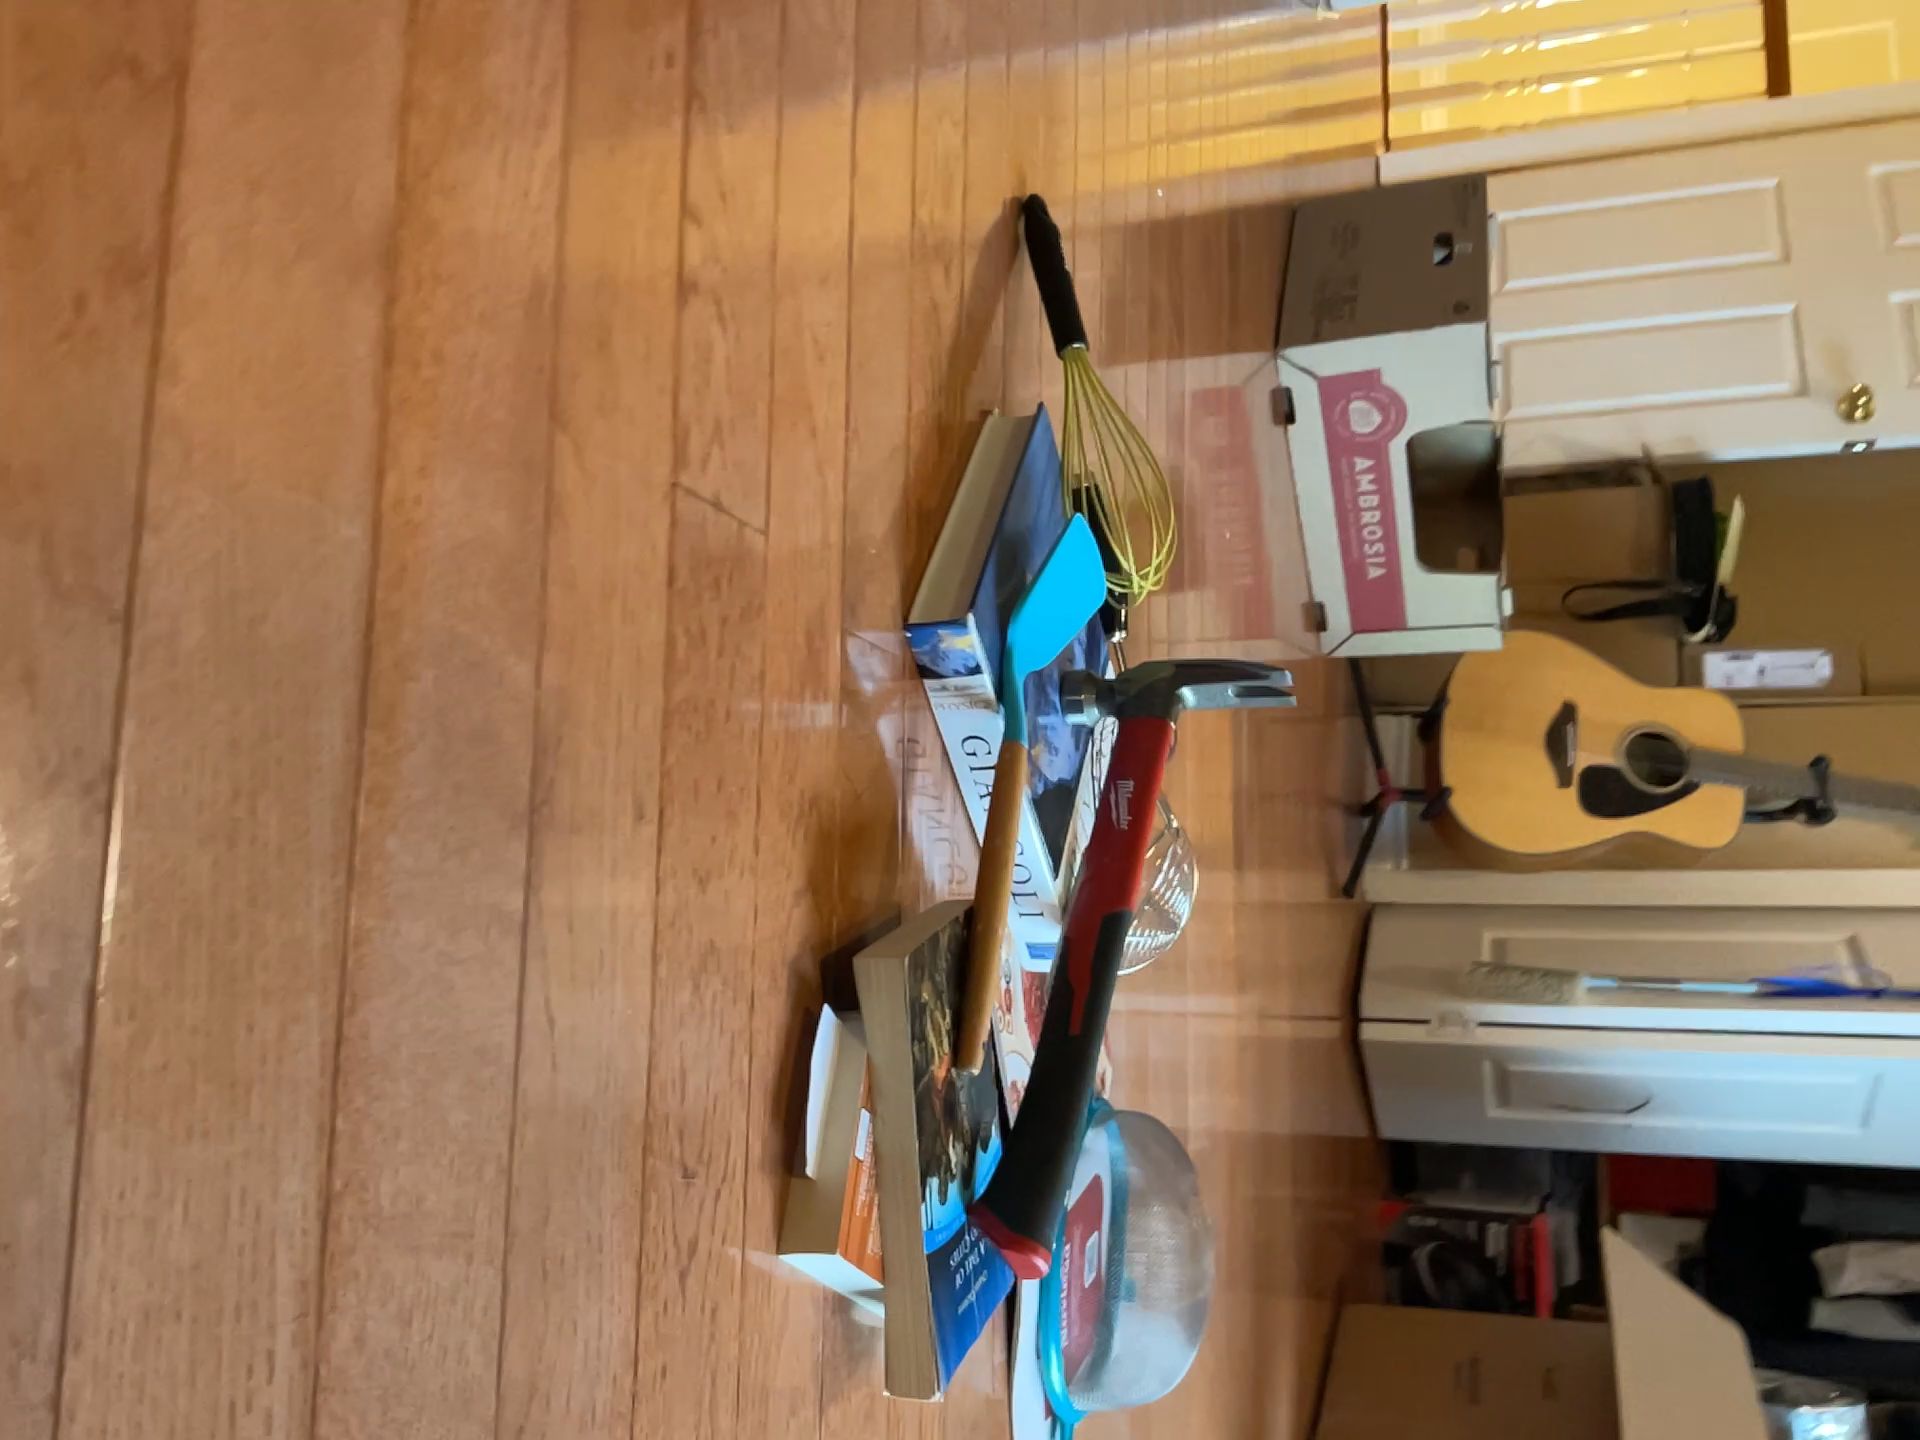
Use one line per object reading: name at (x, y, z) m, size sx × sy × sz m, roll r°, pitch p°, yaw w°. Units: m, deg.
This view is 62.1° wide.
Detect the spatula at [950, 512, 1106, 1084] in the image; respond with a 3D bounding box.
spatula at (0.033, 0.037, 0.836) m, size 0.082 × 0.044 × 0.318 m, roll 63°, pitch 31°, yaw -53°

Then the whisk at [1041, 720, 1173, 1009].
whisk at (0.090, 0.078, 1.004) m, size 0.059 × 0.058 × 0.247 m, roll 114°, pitch -4°, yaw -54°

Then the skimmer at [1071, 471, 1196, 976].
skimmer at (0.099, 0.005, 1.163) m, size 0.127 × 0.090 × 0.363 m, roll -9°, pitch 85°, yaw -68°

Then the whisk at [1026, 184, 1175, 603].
whisk at (0.078, -0.218, 1.034) m, size 0.080 × 0.067 × 0.312 m, roll 17°, pitch 56°, yaw -54°

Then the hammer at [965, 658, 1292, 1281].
hammer at (0.087, 0.114, 0.864) m, size 0.038 × 0.143 × 0.387 m, roll 65°, pitch 32°, yaw -42°

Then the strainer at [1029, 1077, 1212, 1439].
strainer at (0.118, 0.303, 1.055) m, size 0.211 × 0.095 × 0.340 m, roll -39°, pitch 131°, yaw -66°
